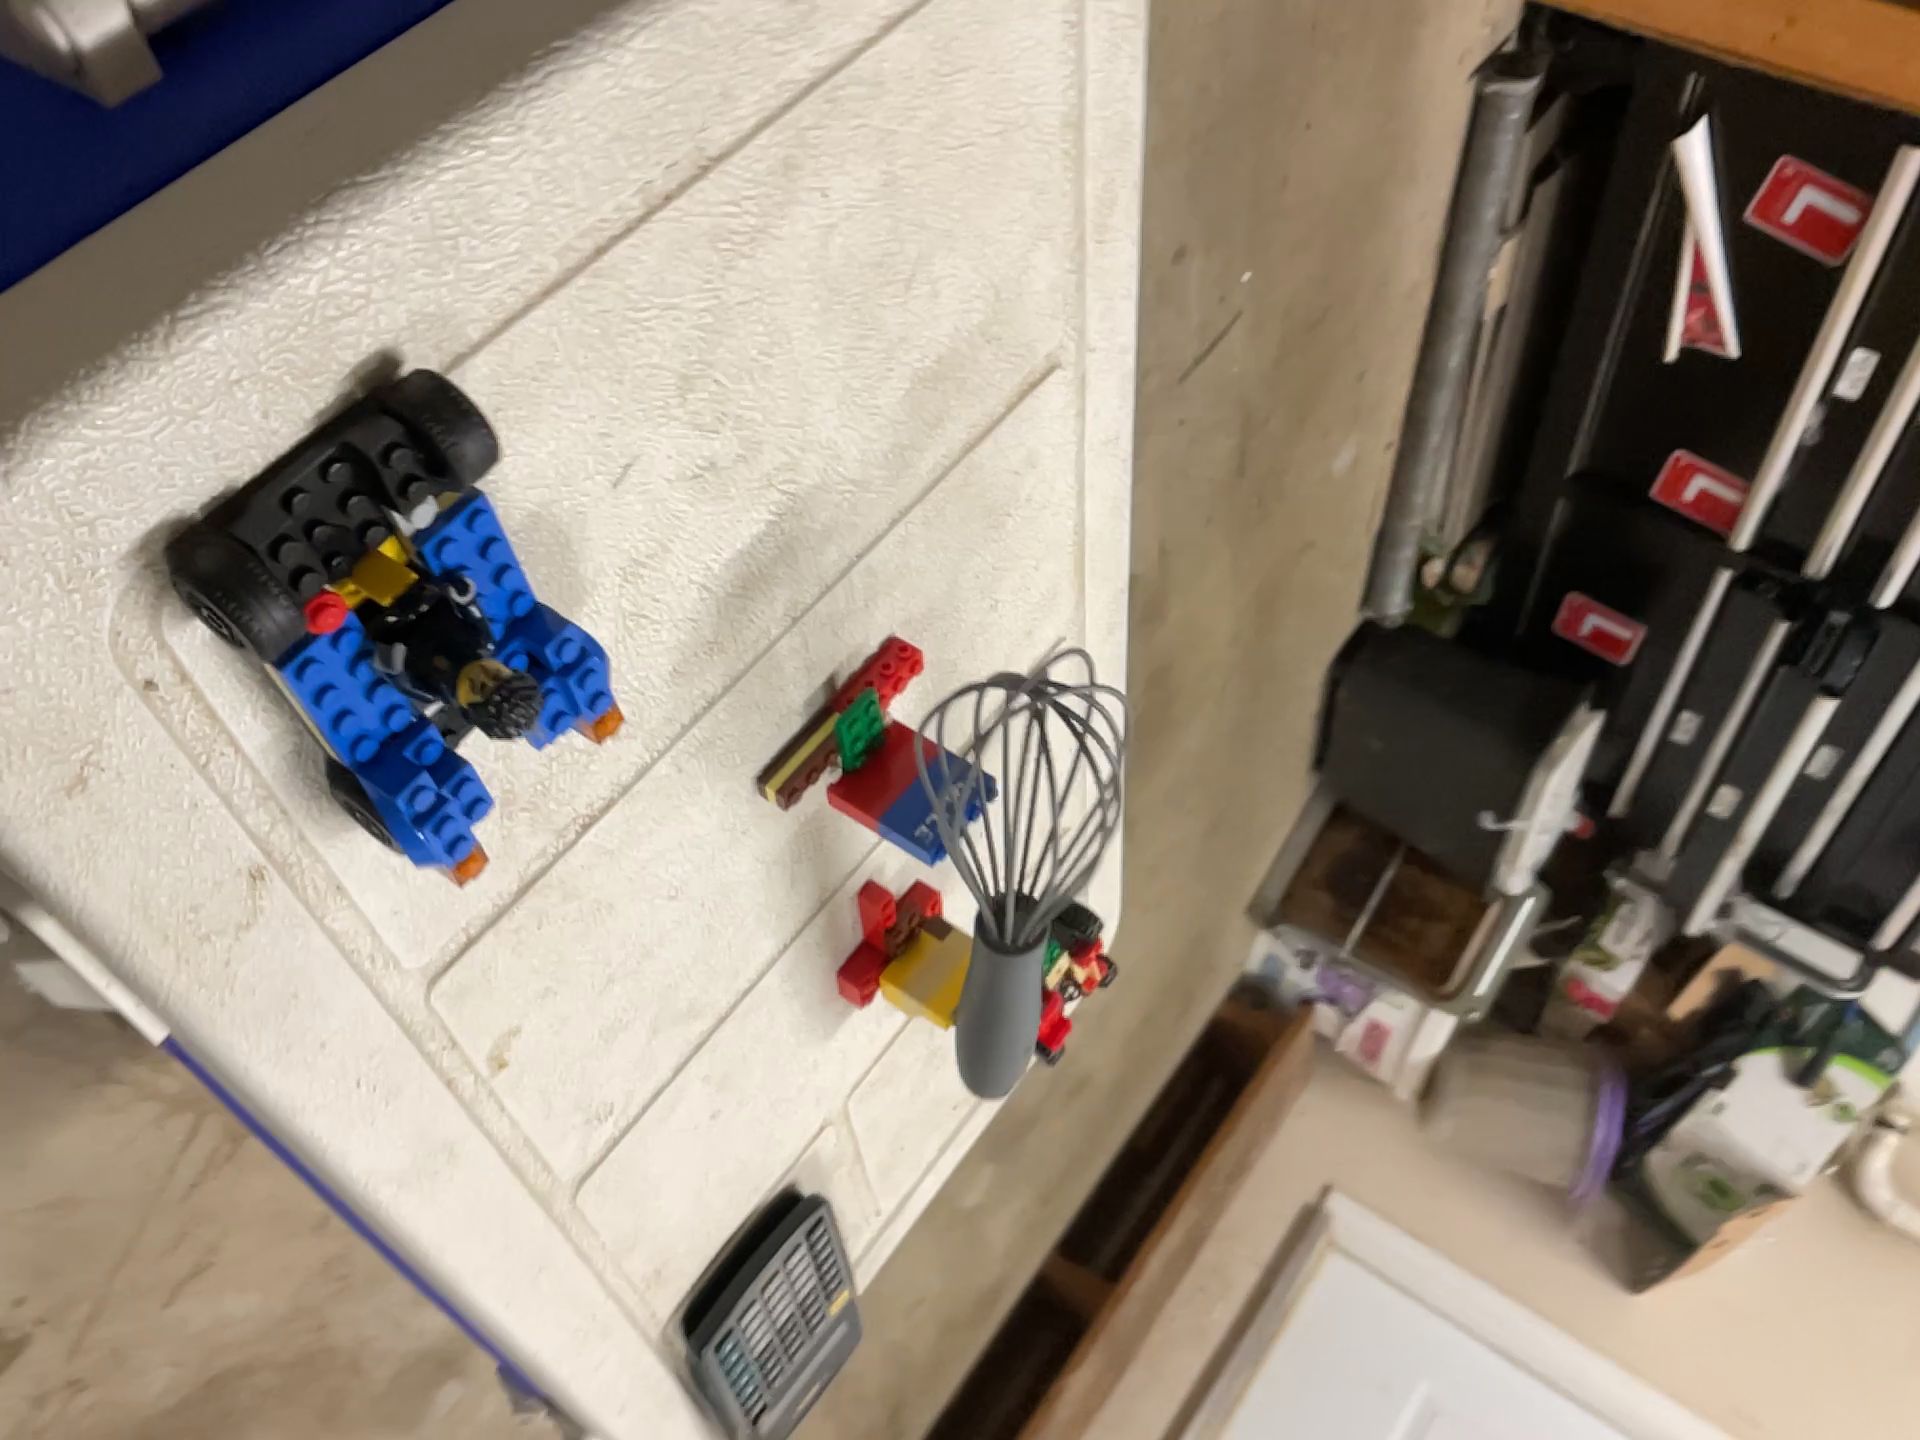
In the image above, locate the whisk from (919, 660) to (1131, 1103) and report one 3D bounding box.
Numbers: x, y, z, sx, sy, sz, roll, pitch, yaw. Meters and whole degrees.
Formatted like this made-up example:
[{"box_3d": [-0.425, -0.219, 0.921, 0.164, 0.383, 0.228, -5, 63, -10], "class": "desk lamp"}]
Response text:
[{"box_3d": [0.013, 0.062, 0.478, 0.055, 0.055, 0.239, -44, 156, -29], "class": "whisk"}]
